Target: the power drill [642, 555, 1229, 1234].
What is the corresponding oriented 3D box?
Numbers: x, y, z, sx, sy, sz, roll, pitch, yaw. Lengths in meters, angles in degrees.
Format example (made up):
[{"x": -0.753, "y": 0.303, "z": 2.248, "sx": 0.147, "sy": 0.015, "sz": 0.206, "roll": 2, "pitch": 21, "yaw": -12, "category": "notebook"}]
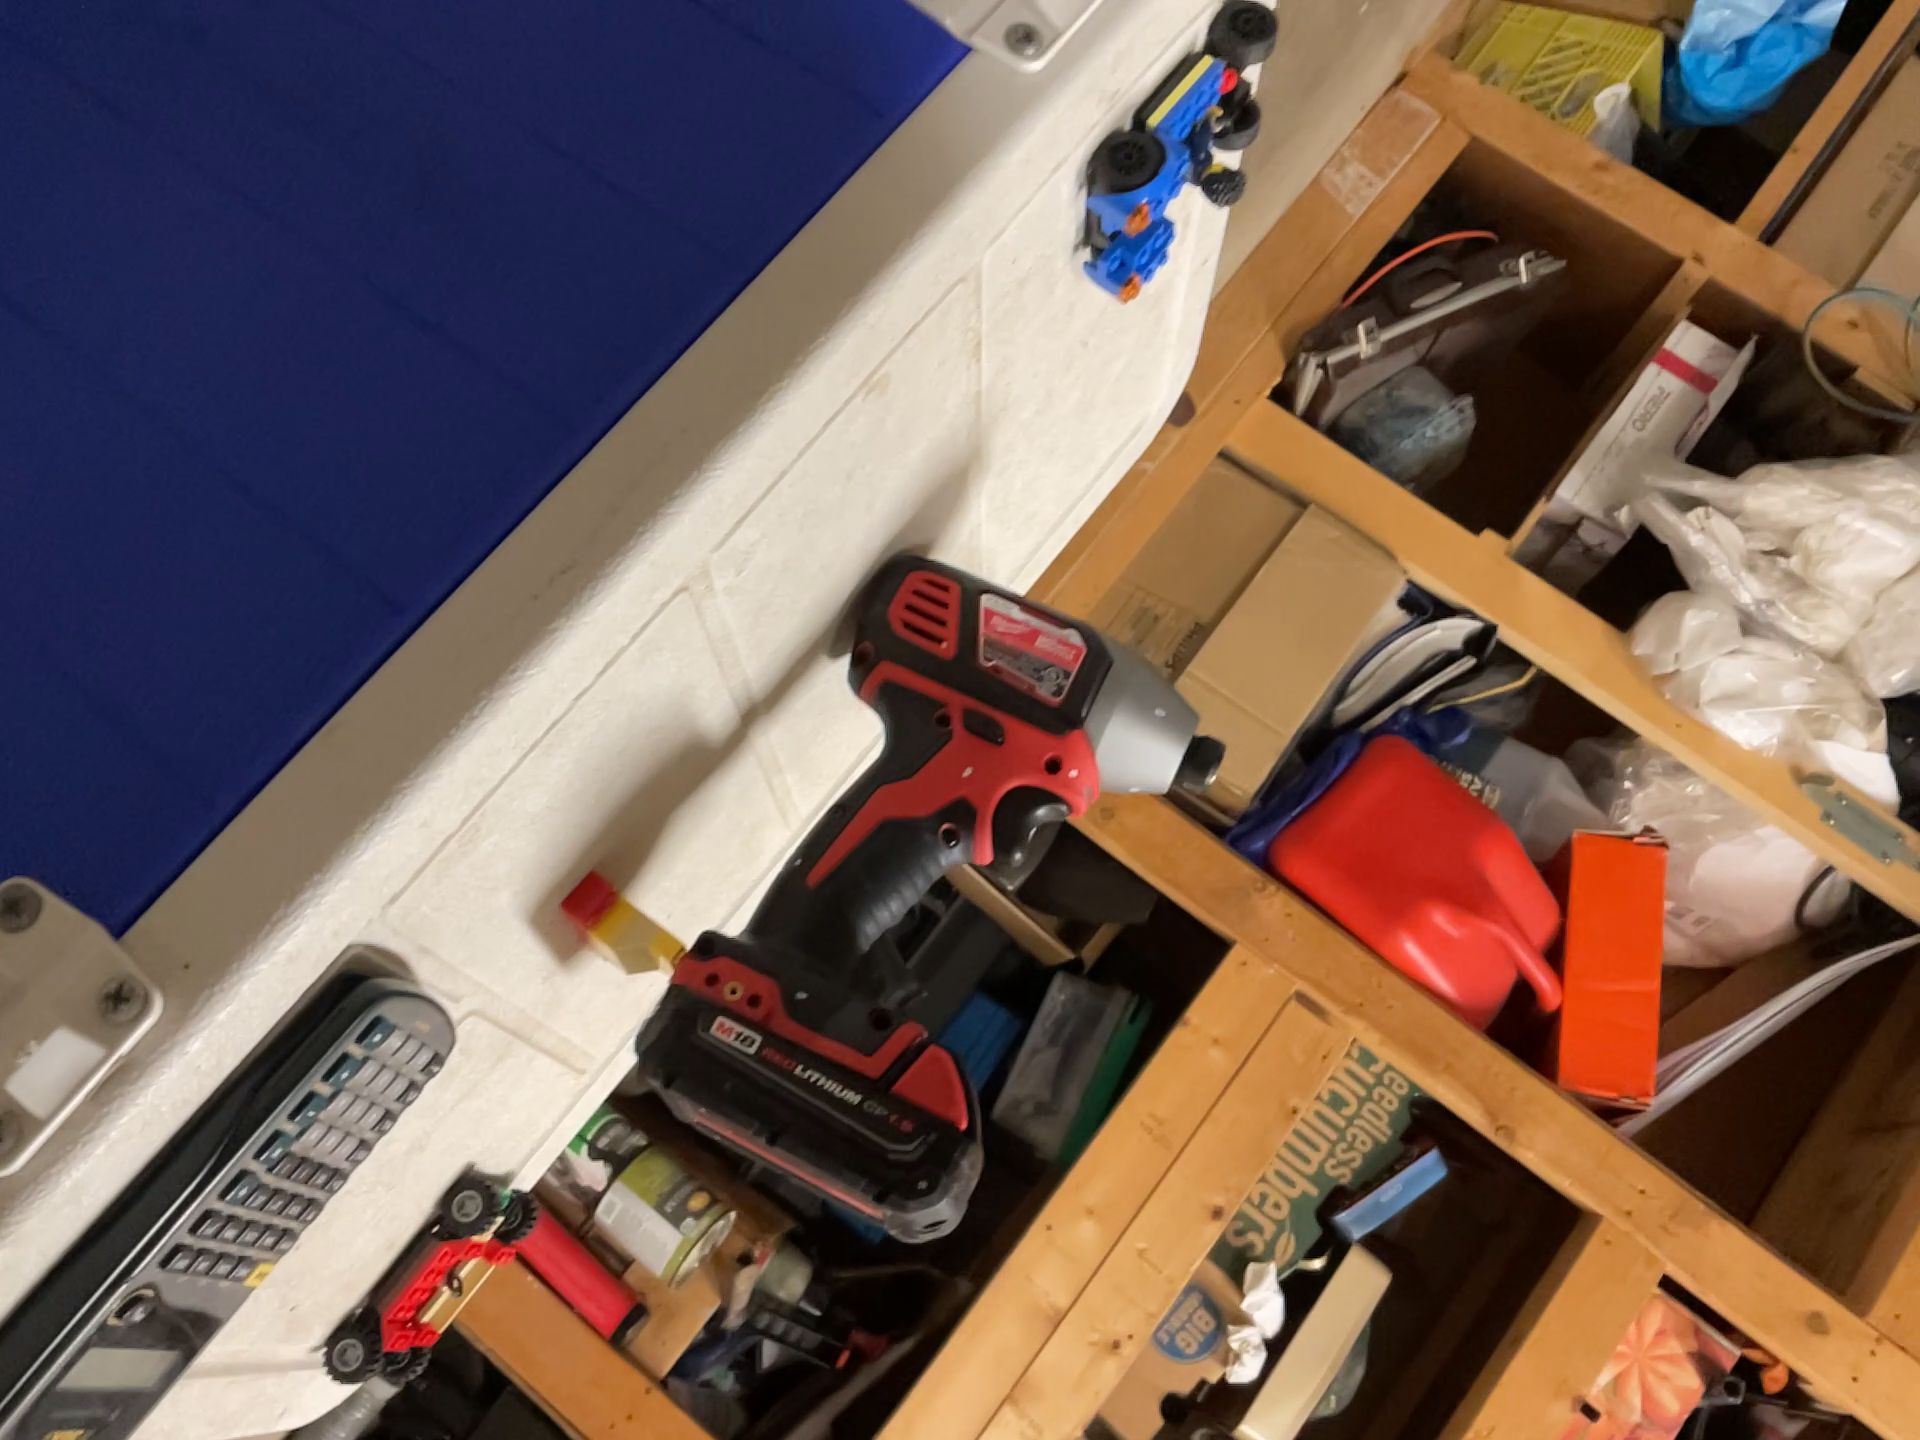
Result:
[{"x": -0.004, "y": 0.055, "z": 0.560, "sx": 0.078, "sy": 0.143, "sz": 0.220, "roll": 94, "pitch": 21, "yaw": -66, "category": "power drill"}]
